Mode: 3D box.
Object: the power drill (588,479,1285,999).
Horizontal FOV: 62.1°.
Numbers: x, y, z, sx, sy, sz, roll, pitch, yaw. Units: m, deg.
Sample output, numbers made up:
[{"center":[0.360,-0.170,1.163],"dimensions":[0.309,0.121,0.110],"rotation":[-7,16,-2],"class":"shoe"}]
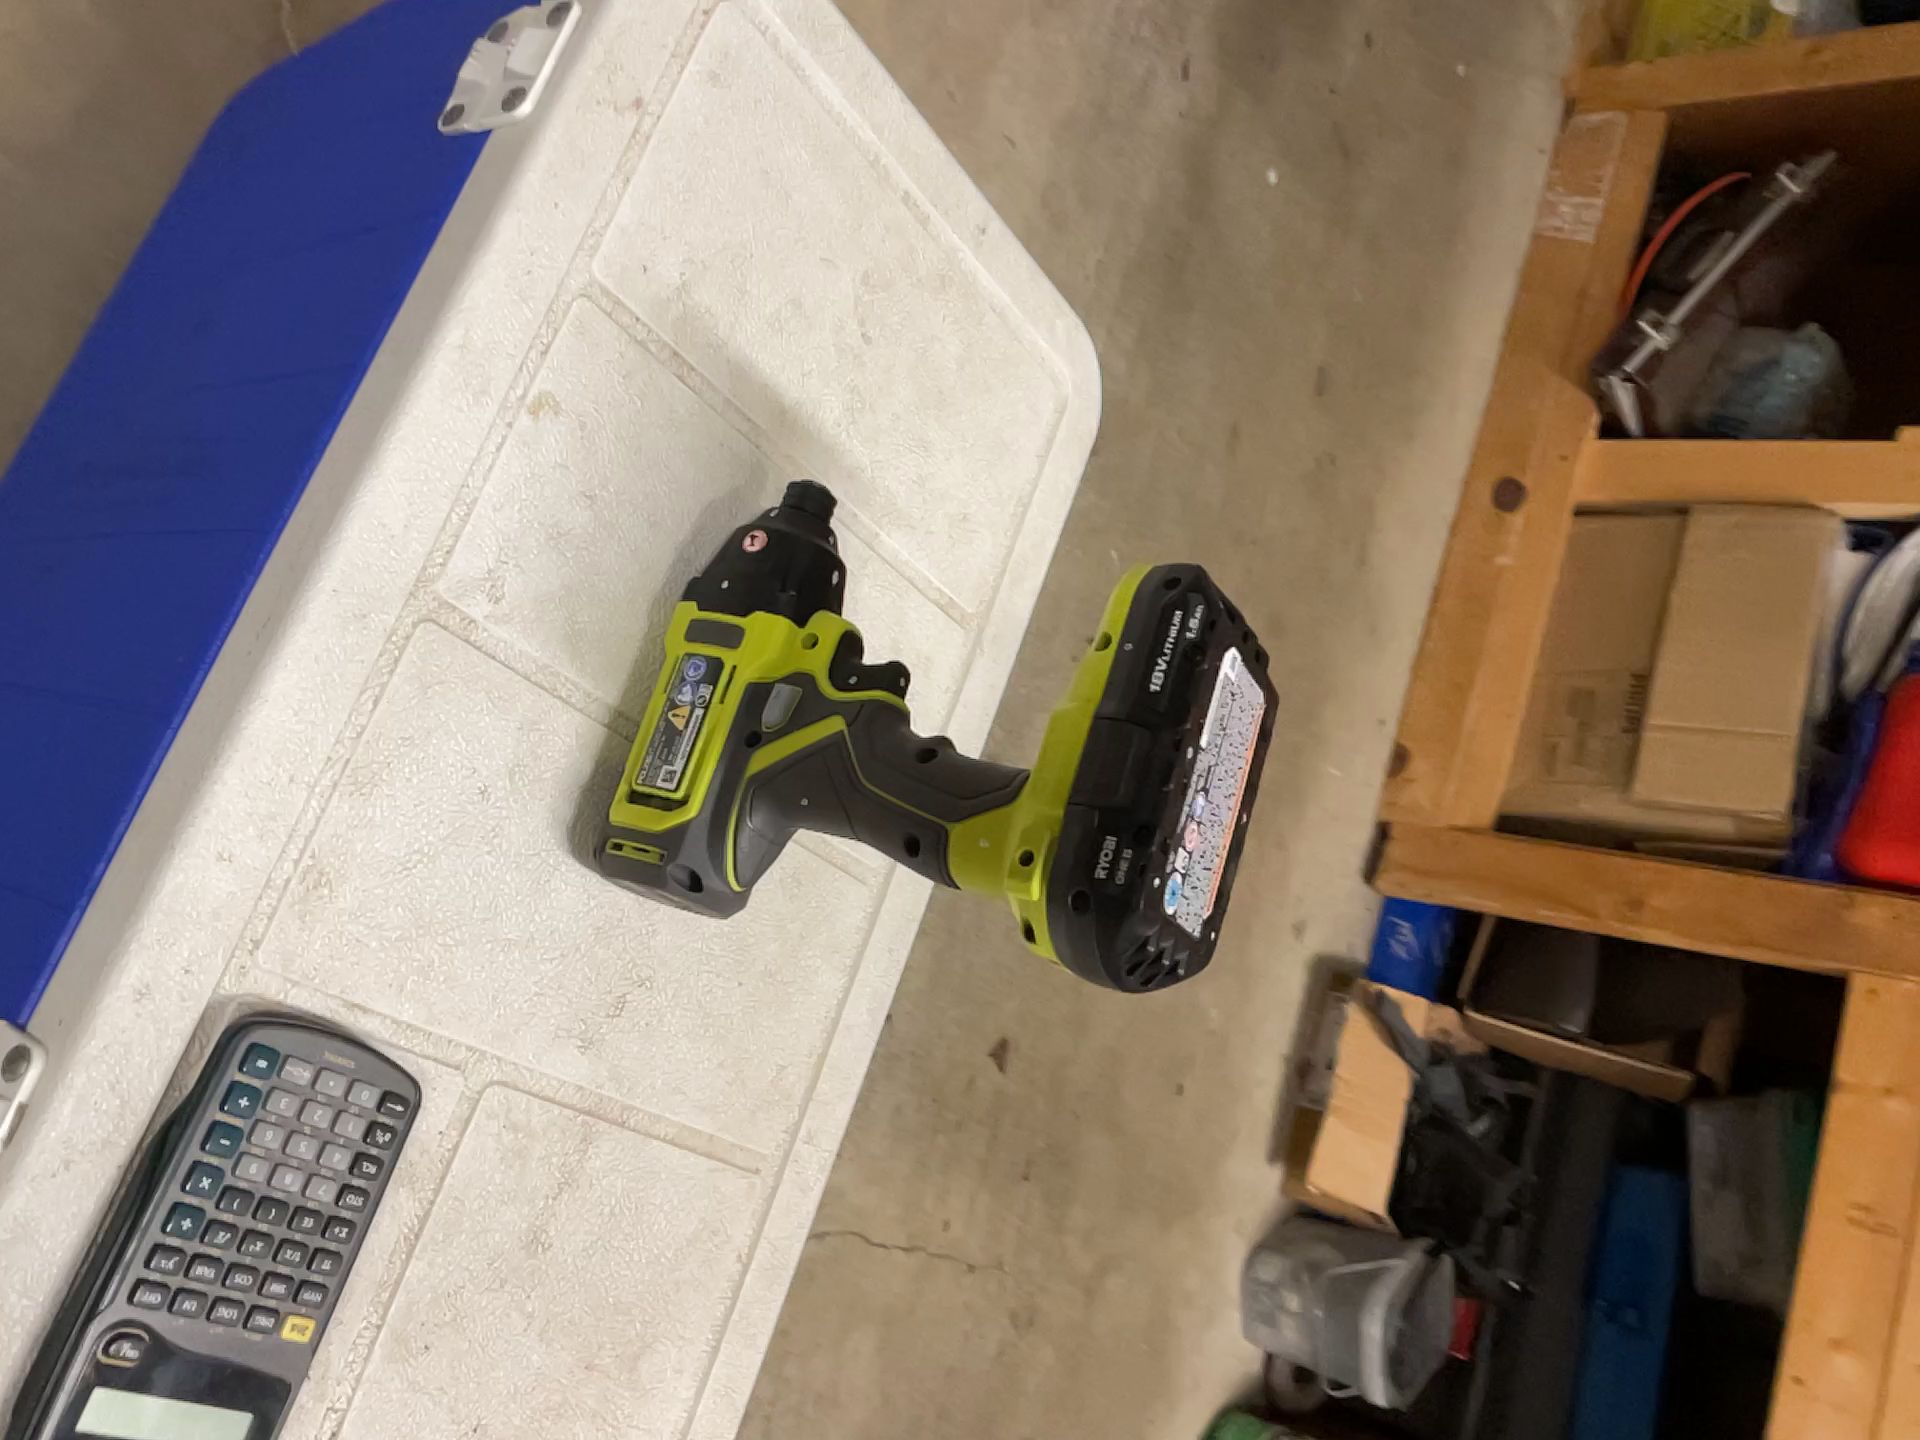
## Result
[{"center":[-0.011,0.000,0.559],"dimensions":[0.080,0.223,0.171],"rotation":[43,62,-57],"class":"power drill"}]
